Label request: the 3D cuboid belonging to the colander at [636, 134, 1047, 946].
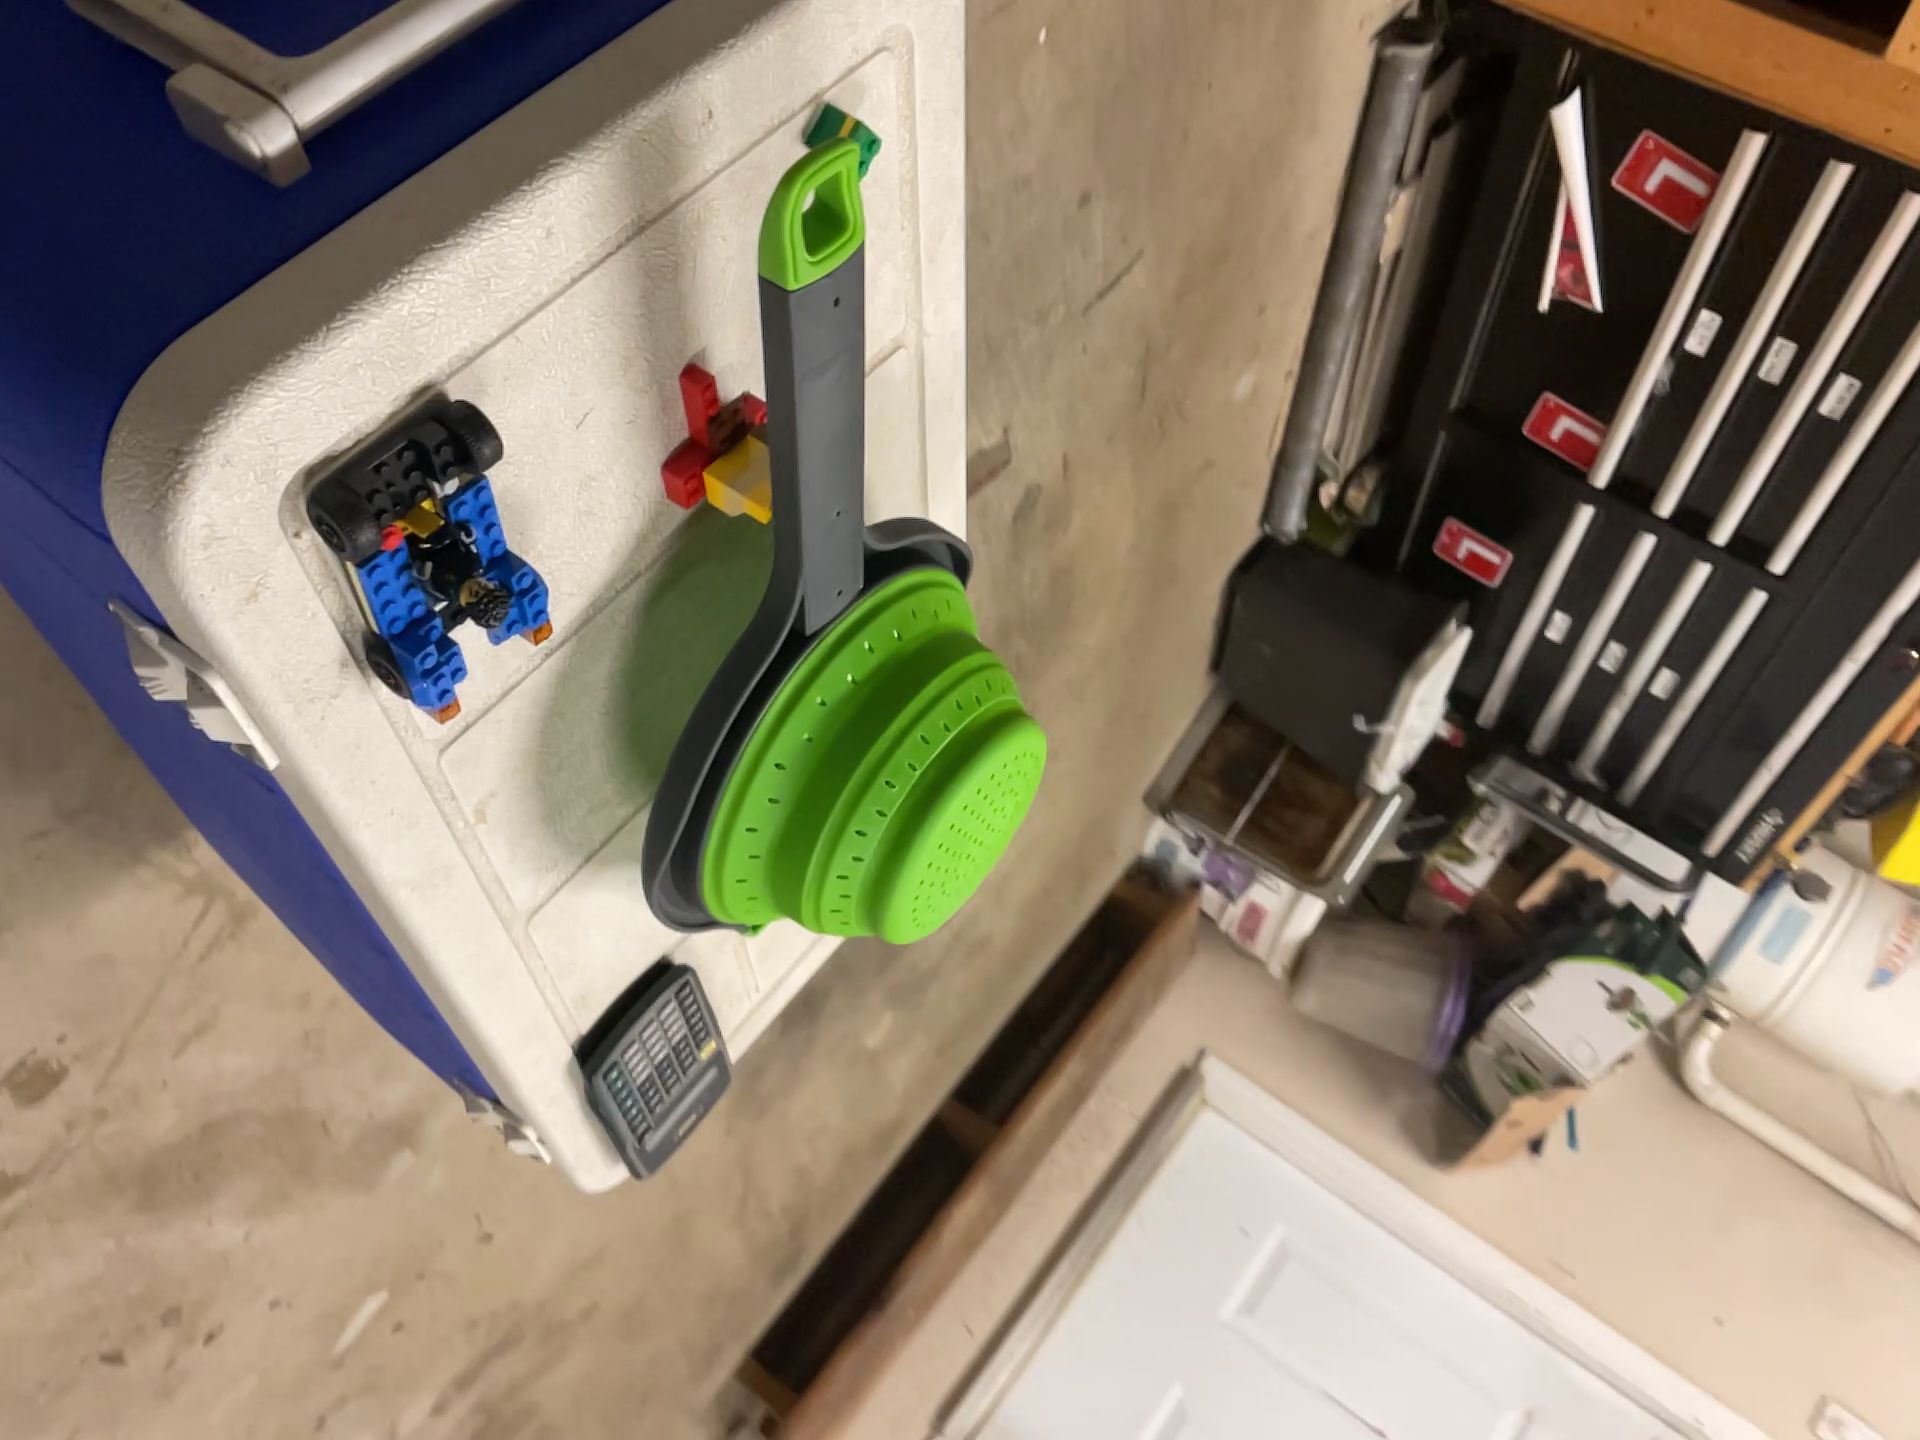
[{"bbox_3d":[-0.026,-0.024,0.594,0.205,0.094,0.396,-46,158,-30],"label":"colander"}]
